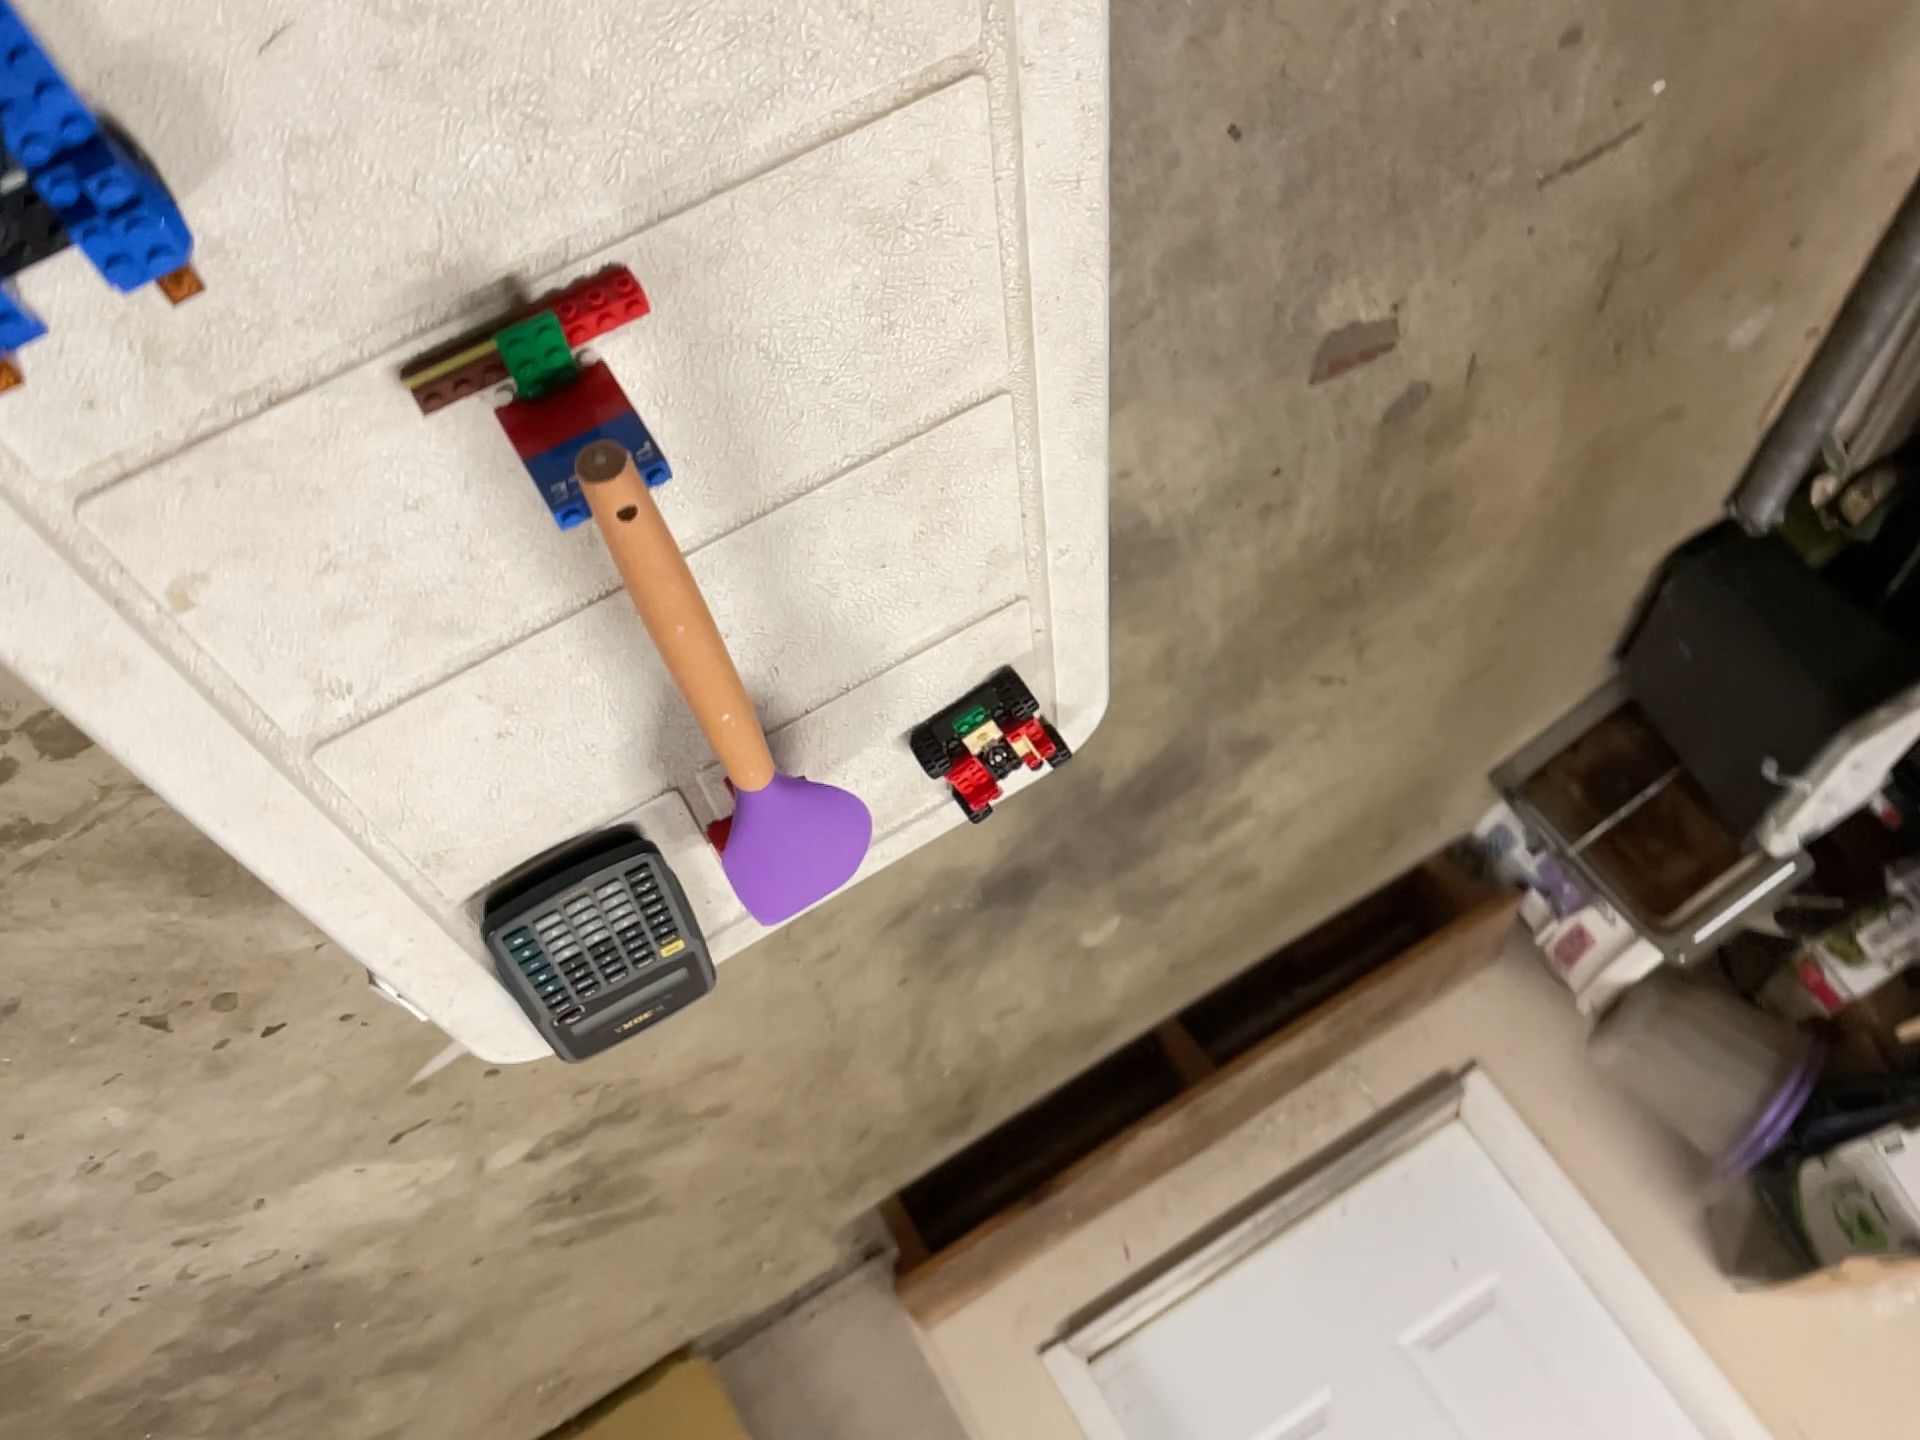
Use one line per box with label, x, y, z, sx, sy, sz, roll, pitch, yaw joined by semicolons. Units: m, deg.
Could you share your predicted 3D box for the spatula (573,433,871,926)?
spatula;-0.071;0.004;0.516;0.060;0.018;0.315;-30;155;-9
